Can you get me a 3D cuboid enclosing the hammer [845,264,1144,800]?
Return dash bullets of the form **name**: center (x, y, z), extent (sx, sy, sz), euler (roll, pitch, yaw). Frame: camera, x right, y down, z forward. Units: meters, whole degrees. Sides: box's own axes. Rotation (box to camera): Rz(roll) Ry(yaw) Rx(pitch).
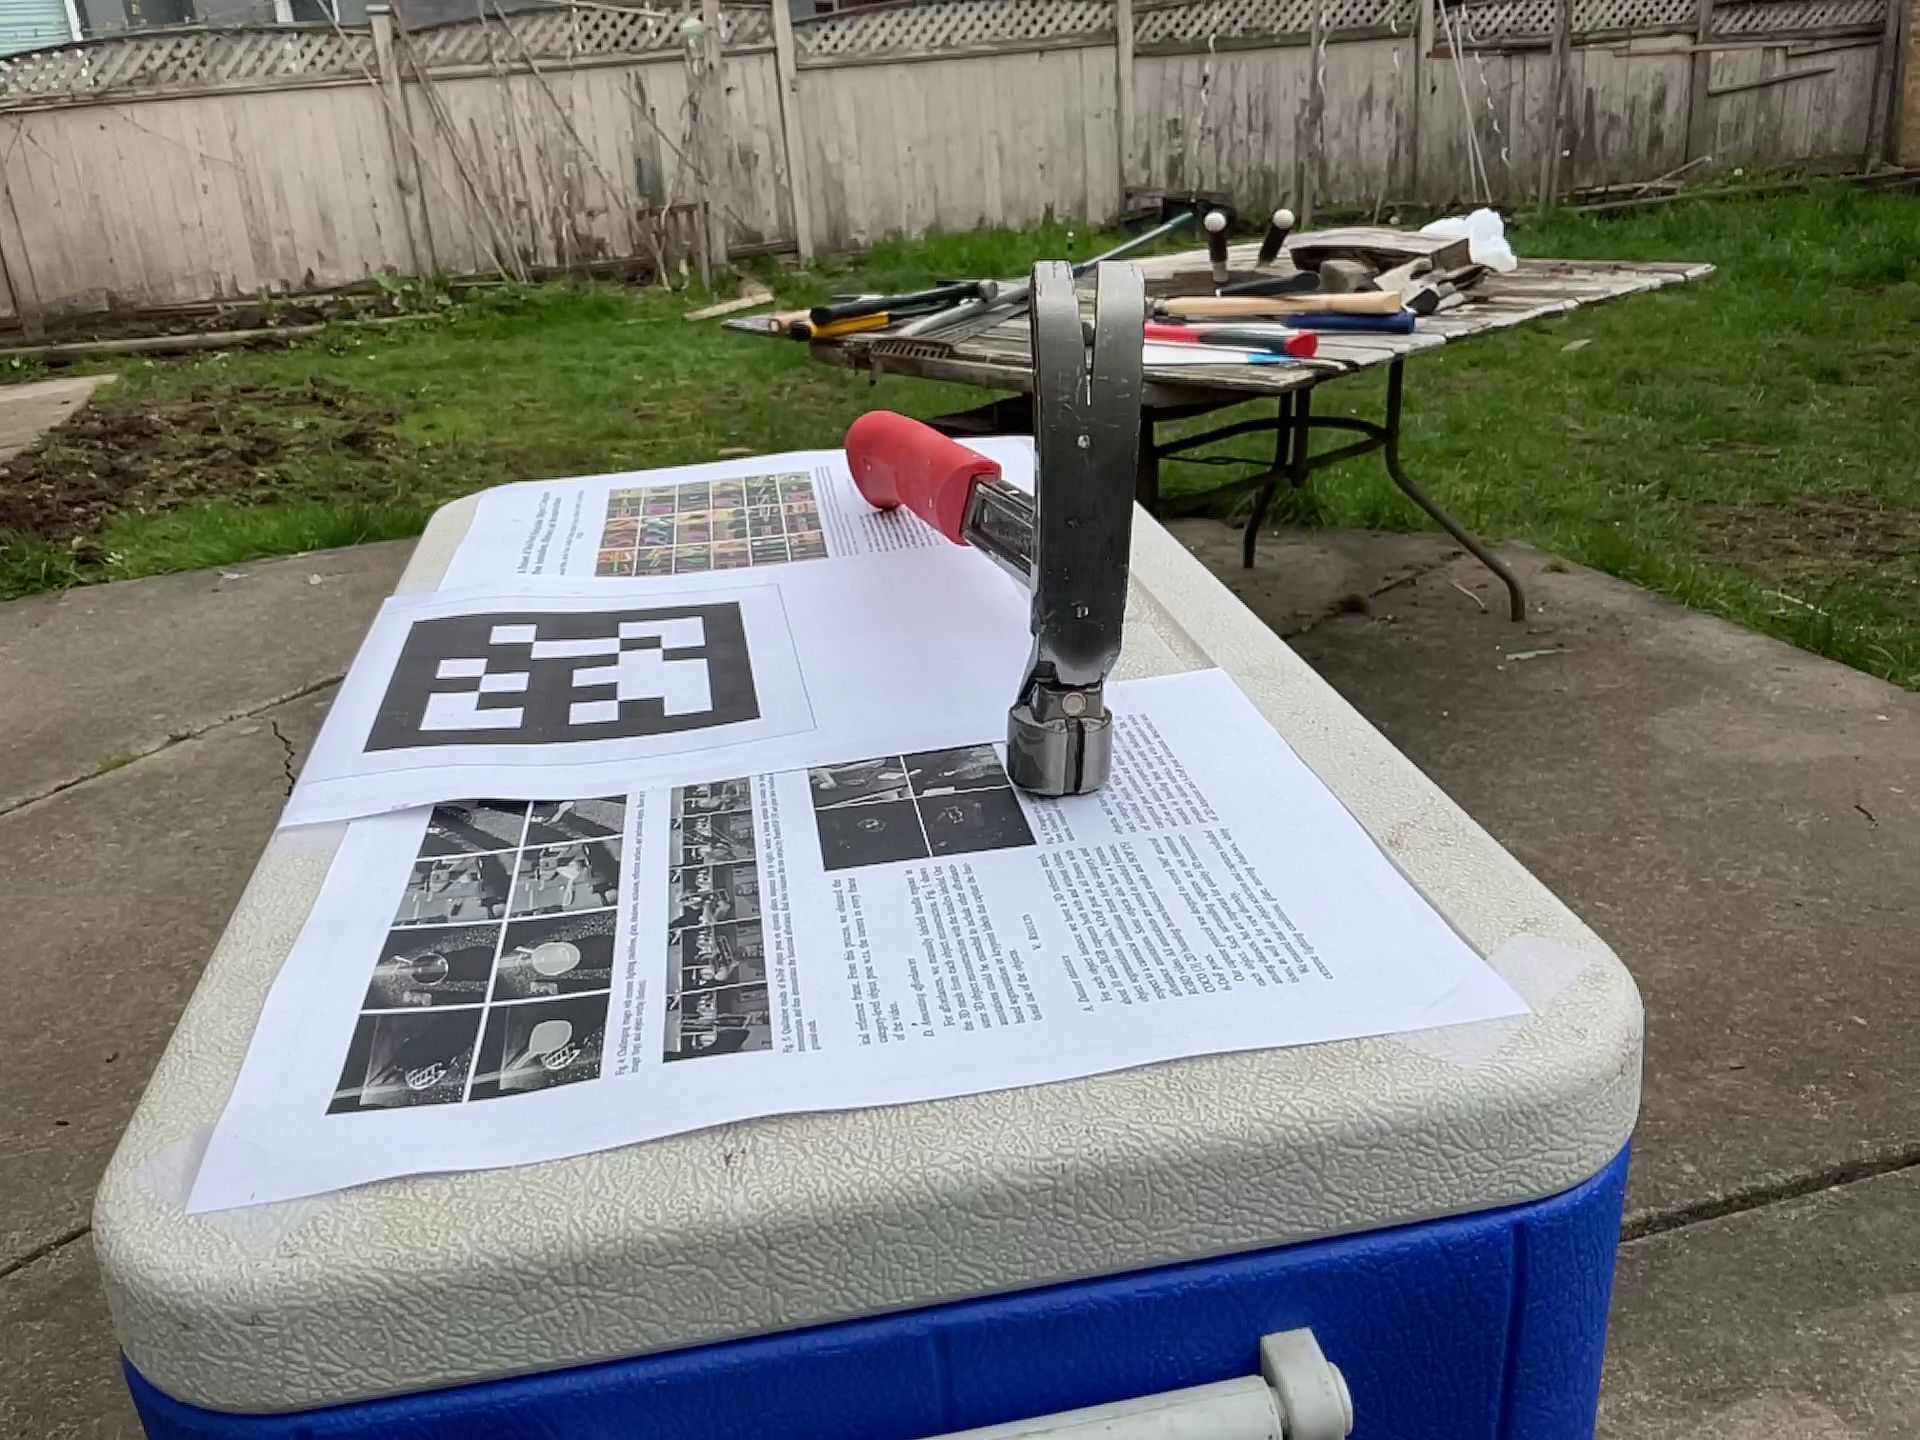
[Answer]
- **hammer**: center (-0.002, -0.095, 0.605), extent (0.036, 0.149, 0.359), euler (-2, 16, -11)
